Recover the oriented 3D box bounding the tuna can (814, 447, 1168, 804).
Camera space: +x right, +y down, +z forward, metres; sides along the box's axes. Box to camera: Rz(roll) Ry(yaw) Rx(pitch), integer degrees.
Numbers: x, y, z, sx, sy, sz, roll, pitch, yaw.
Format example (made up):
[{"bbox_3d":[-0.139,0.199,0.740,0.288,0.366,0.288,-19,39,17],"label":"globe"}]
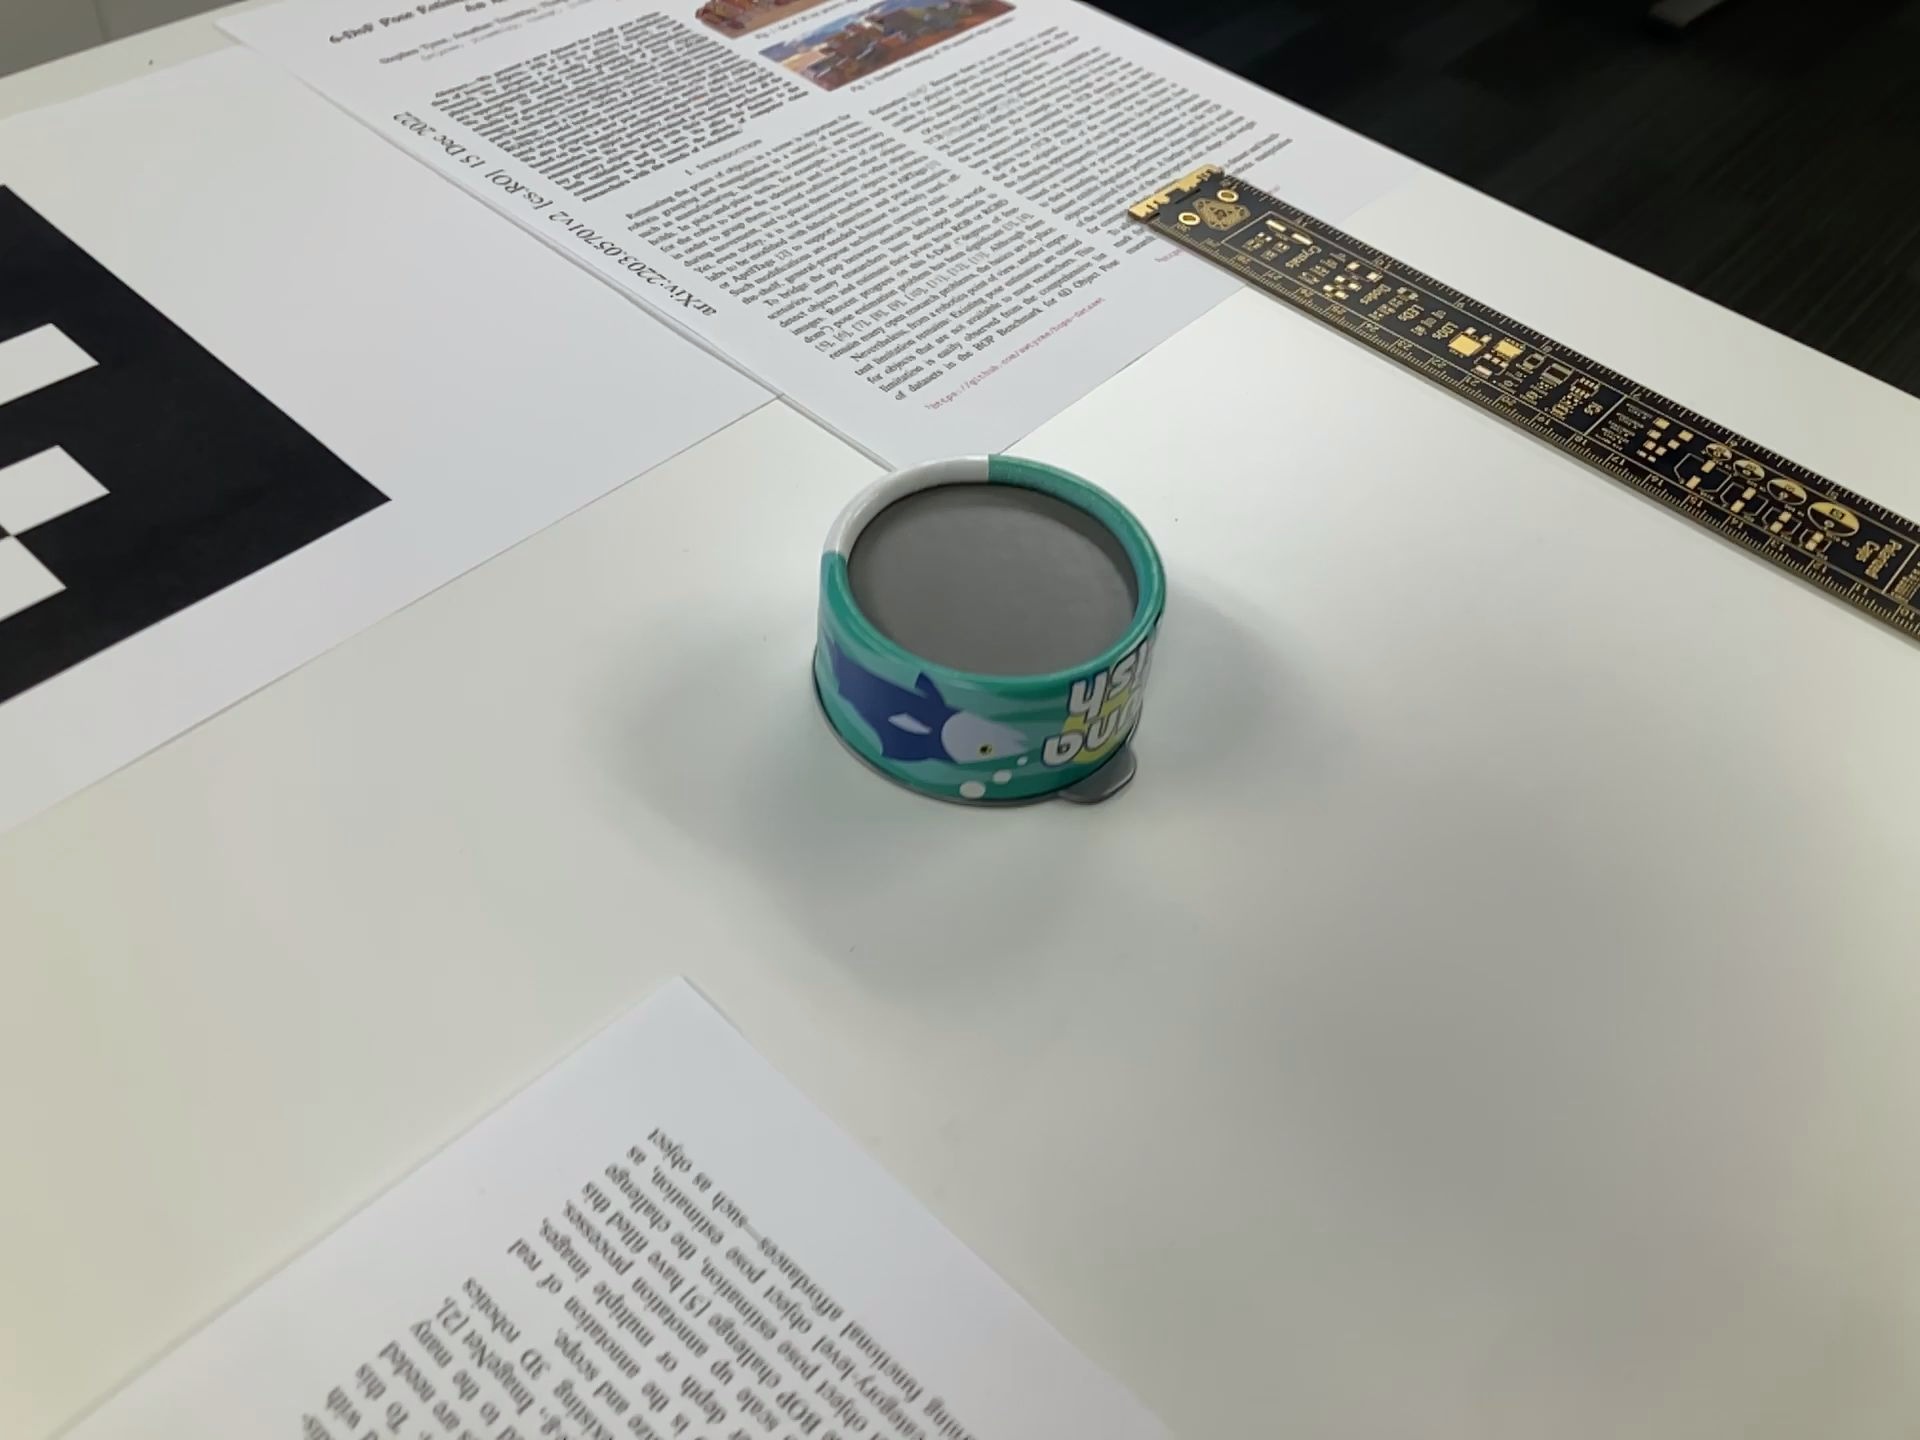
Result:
[{"bbox_3d":[0.007,-0.018,0.304,0.071,0.033,0.071,3,50,-4],"label":"tuna can"}]
